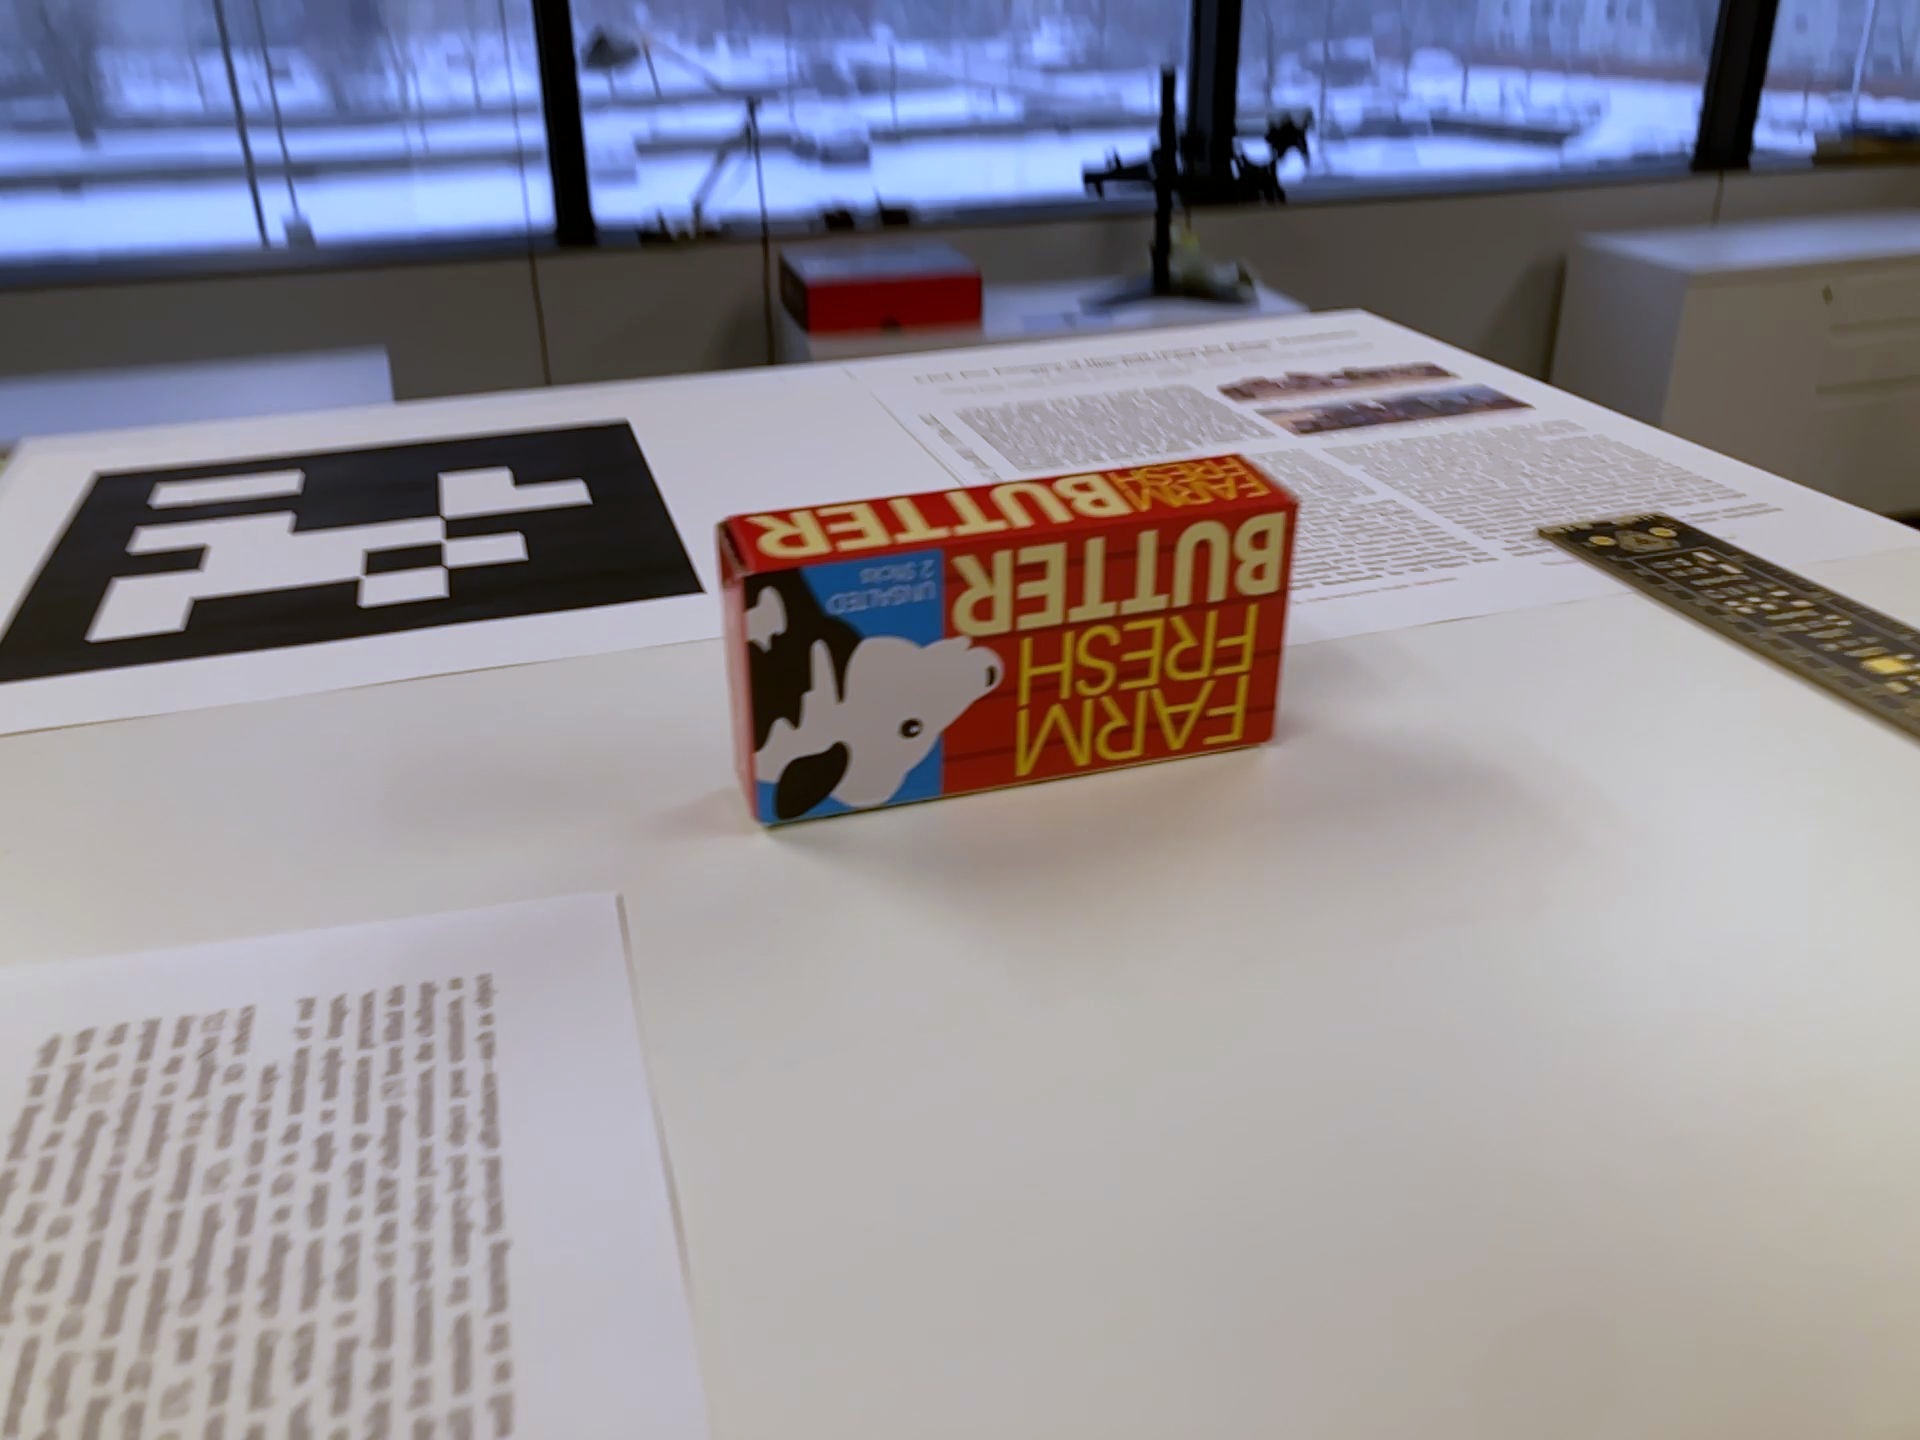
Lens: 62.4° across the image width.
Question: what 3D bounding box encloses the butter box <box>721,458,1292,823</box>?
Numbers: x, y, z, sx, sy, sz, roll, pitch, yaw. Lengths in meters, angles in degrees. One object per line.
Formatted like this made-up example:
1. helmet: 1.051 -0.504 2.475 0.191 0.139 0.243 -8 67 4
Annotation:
1. butter box: 0.009 -0.016 0.297 0.103 0.053 0.024 -9 32 -15
